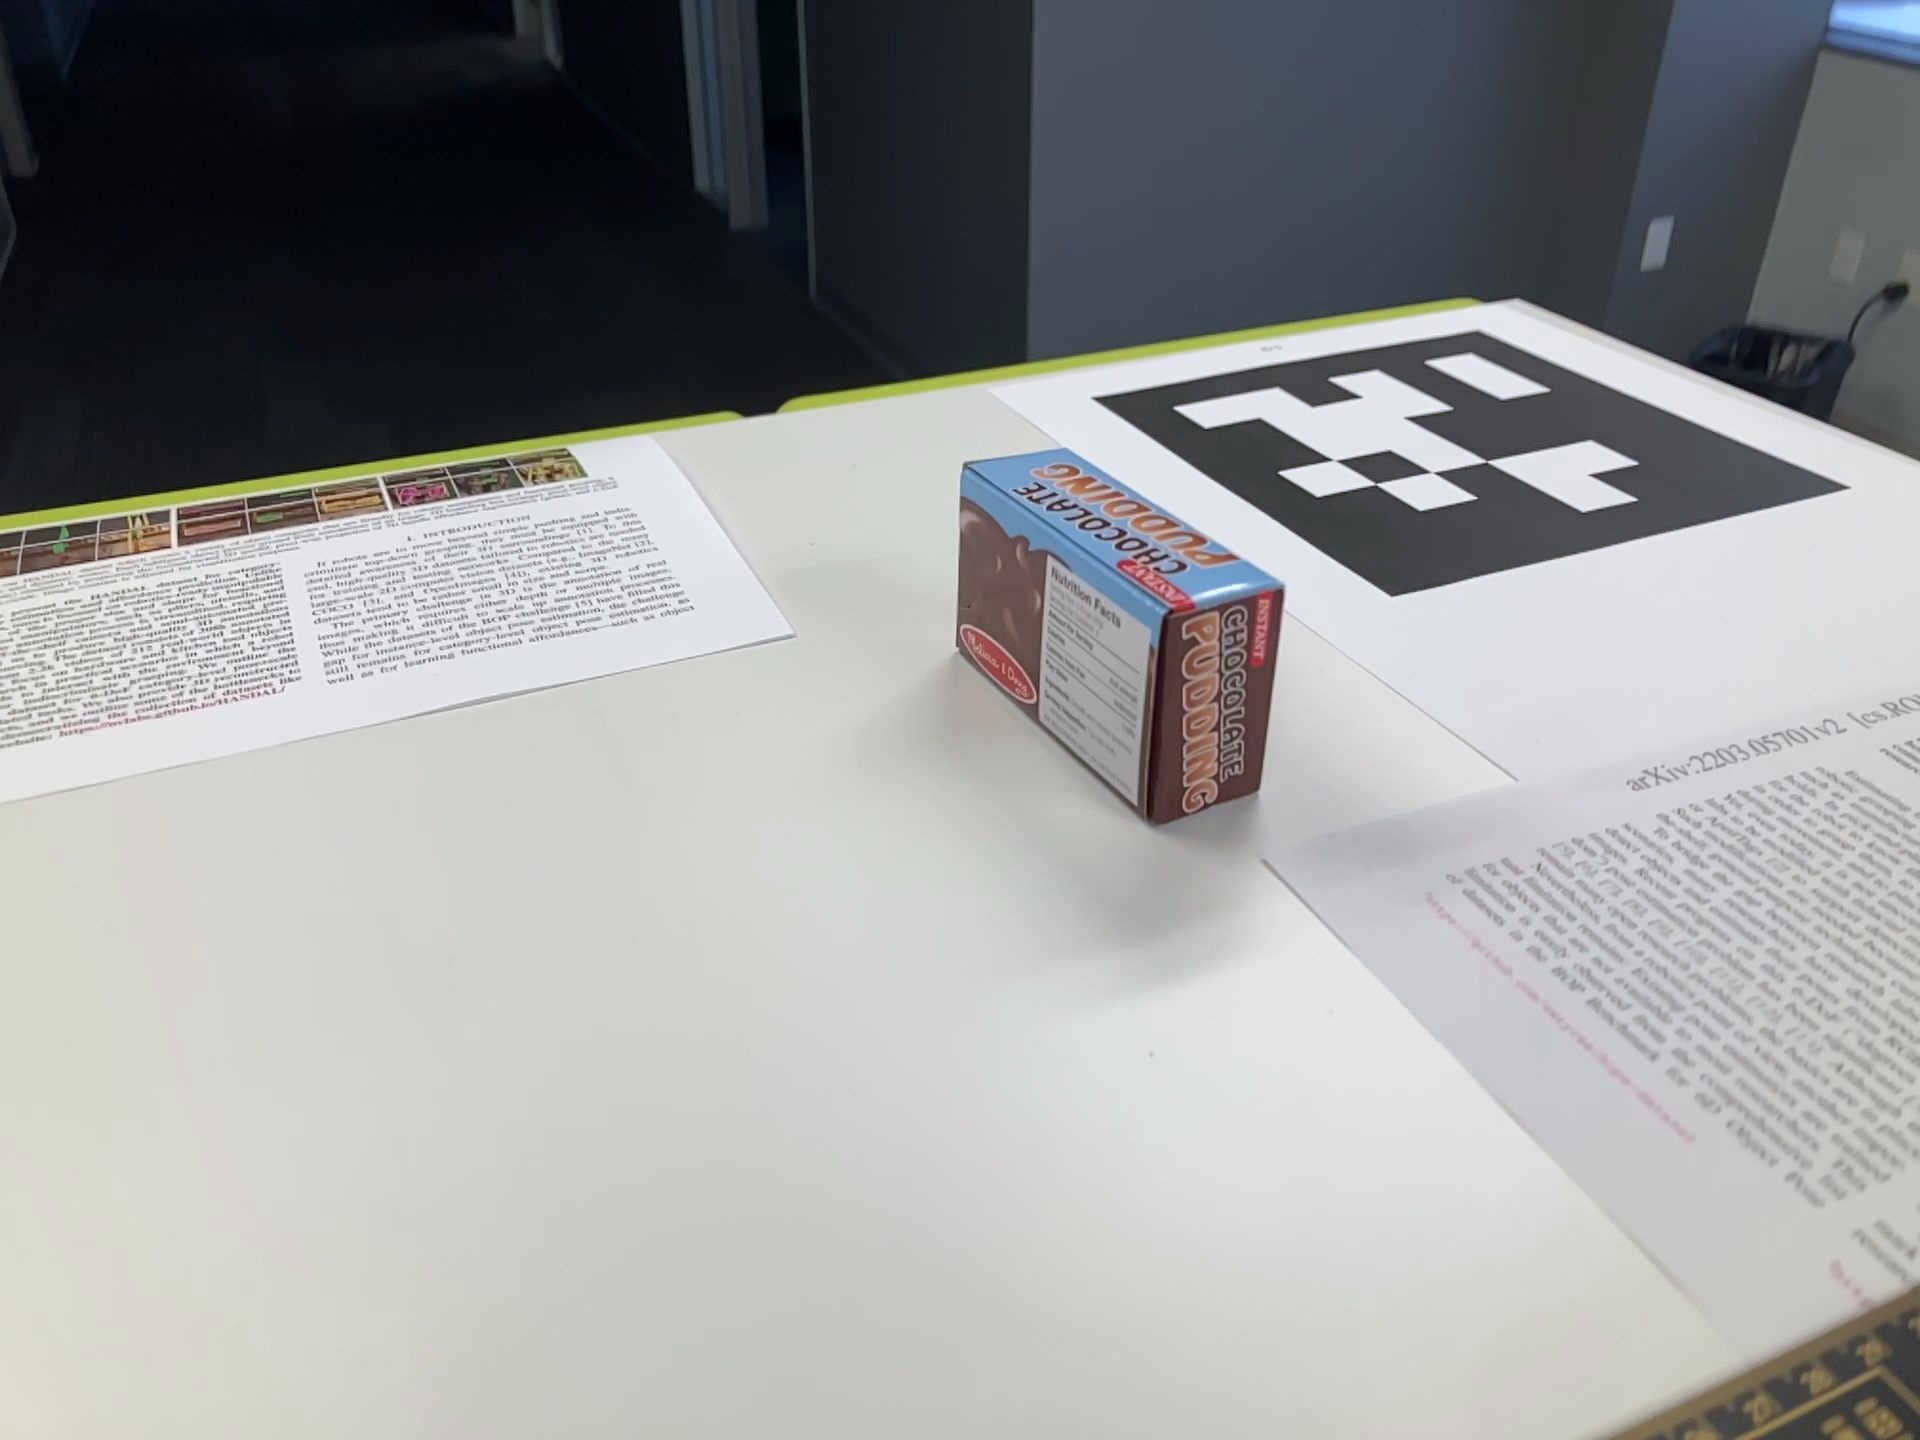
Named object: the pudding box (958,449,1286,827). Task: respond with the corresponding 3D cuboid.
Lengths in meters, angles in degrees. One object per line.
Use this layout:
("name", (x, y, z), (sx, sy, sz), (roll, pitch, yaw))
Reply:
("pudding box", (0.030, -0.021, 0.338), (0.030, 0.049, 0.083), (-14, 33, -24))
